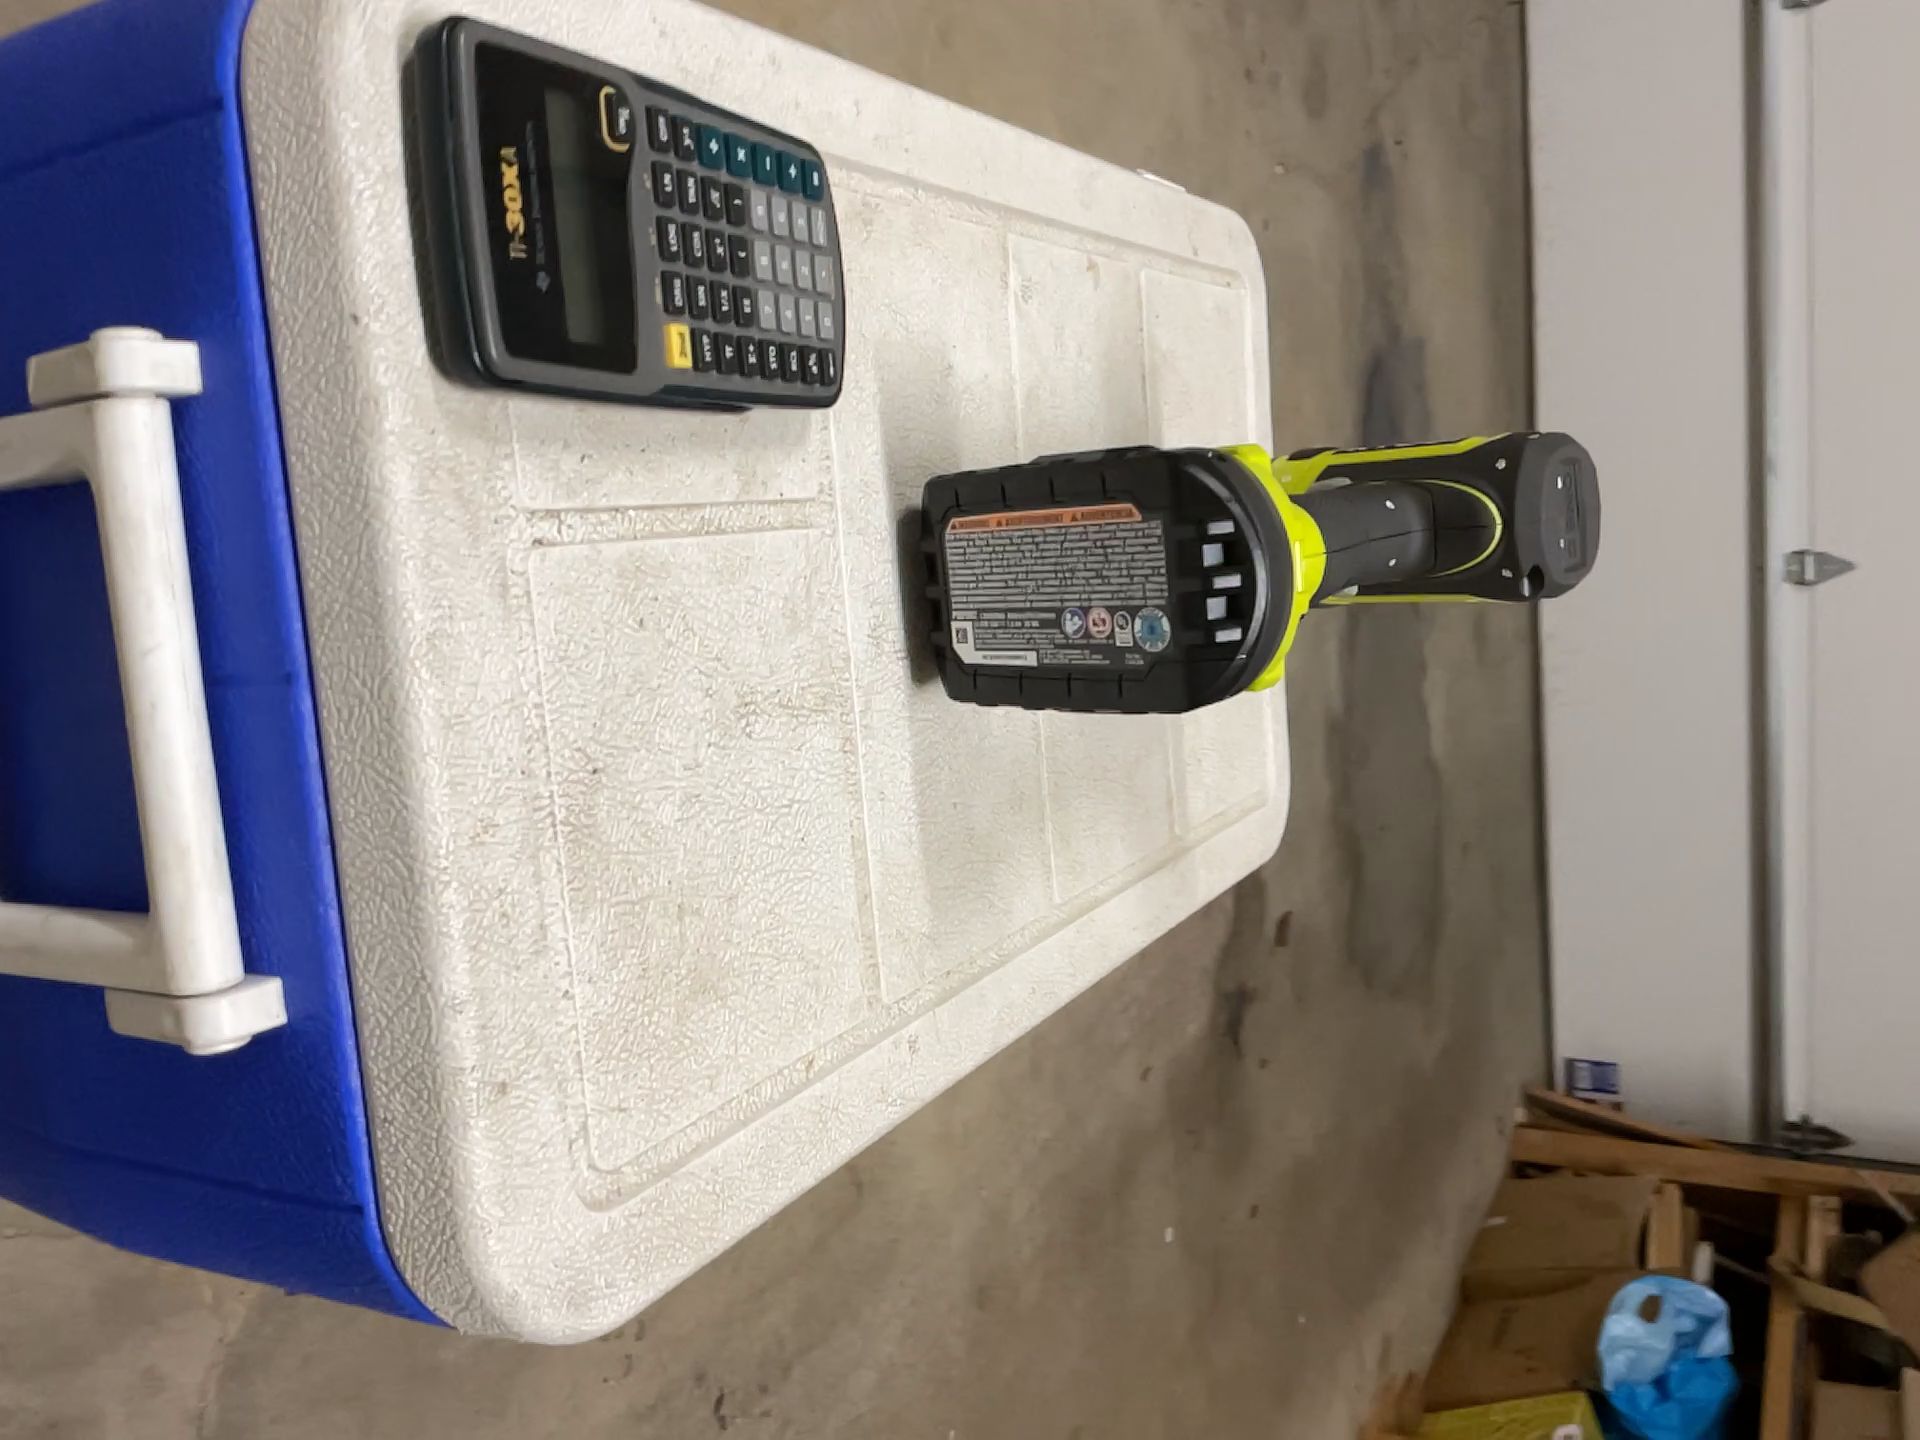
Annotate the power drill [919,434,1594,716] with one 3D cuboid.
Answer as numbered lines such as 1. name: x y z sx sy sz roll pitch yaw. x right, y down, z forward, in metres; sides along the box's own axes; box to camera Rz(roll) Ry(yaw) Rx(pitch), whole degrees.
1. power drill: 0.094 -0.061 0.579 0.229 0.190 0.080 -15 103 -45
